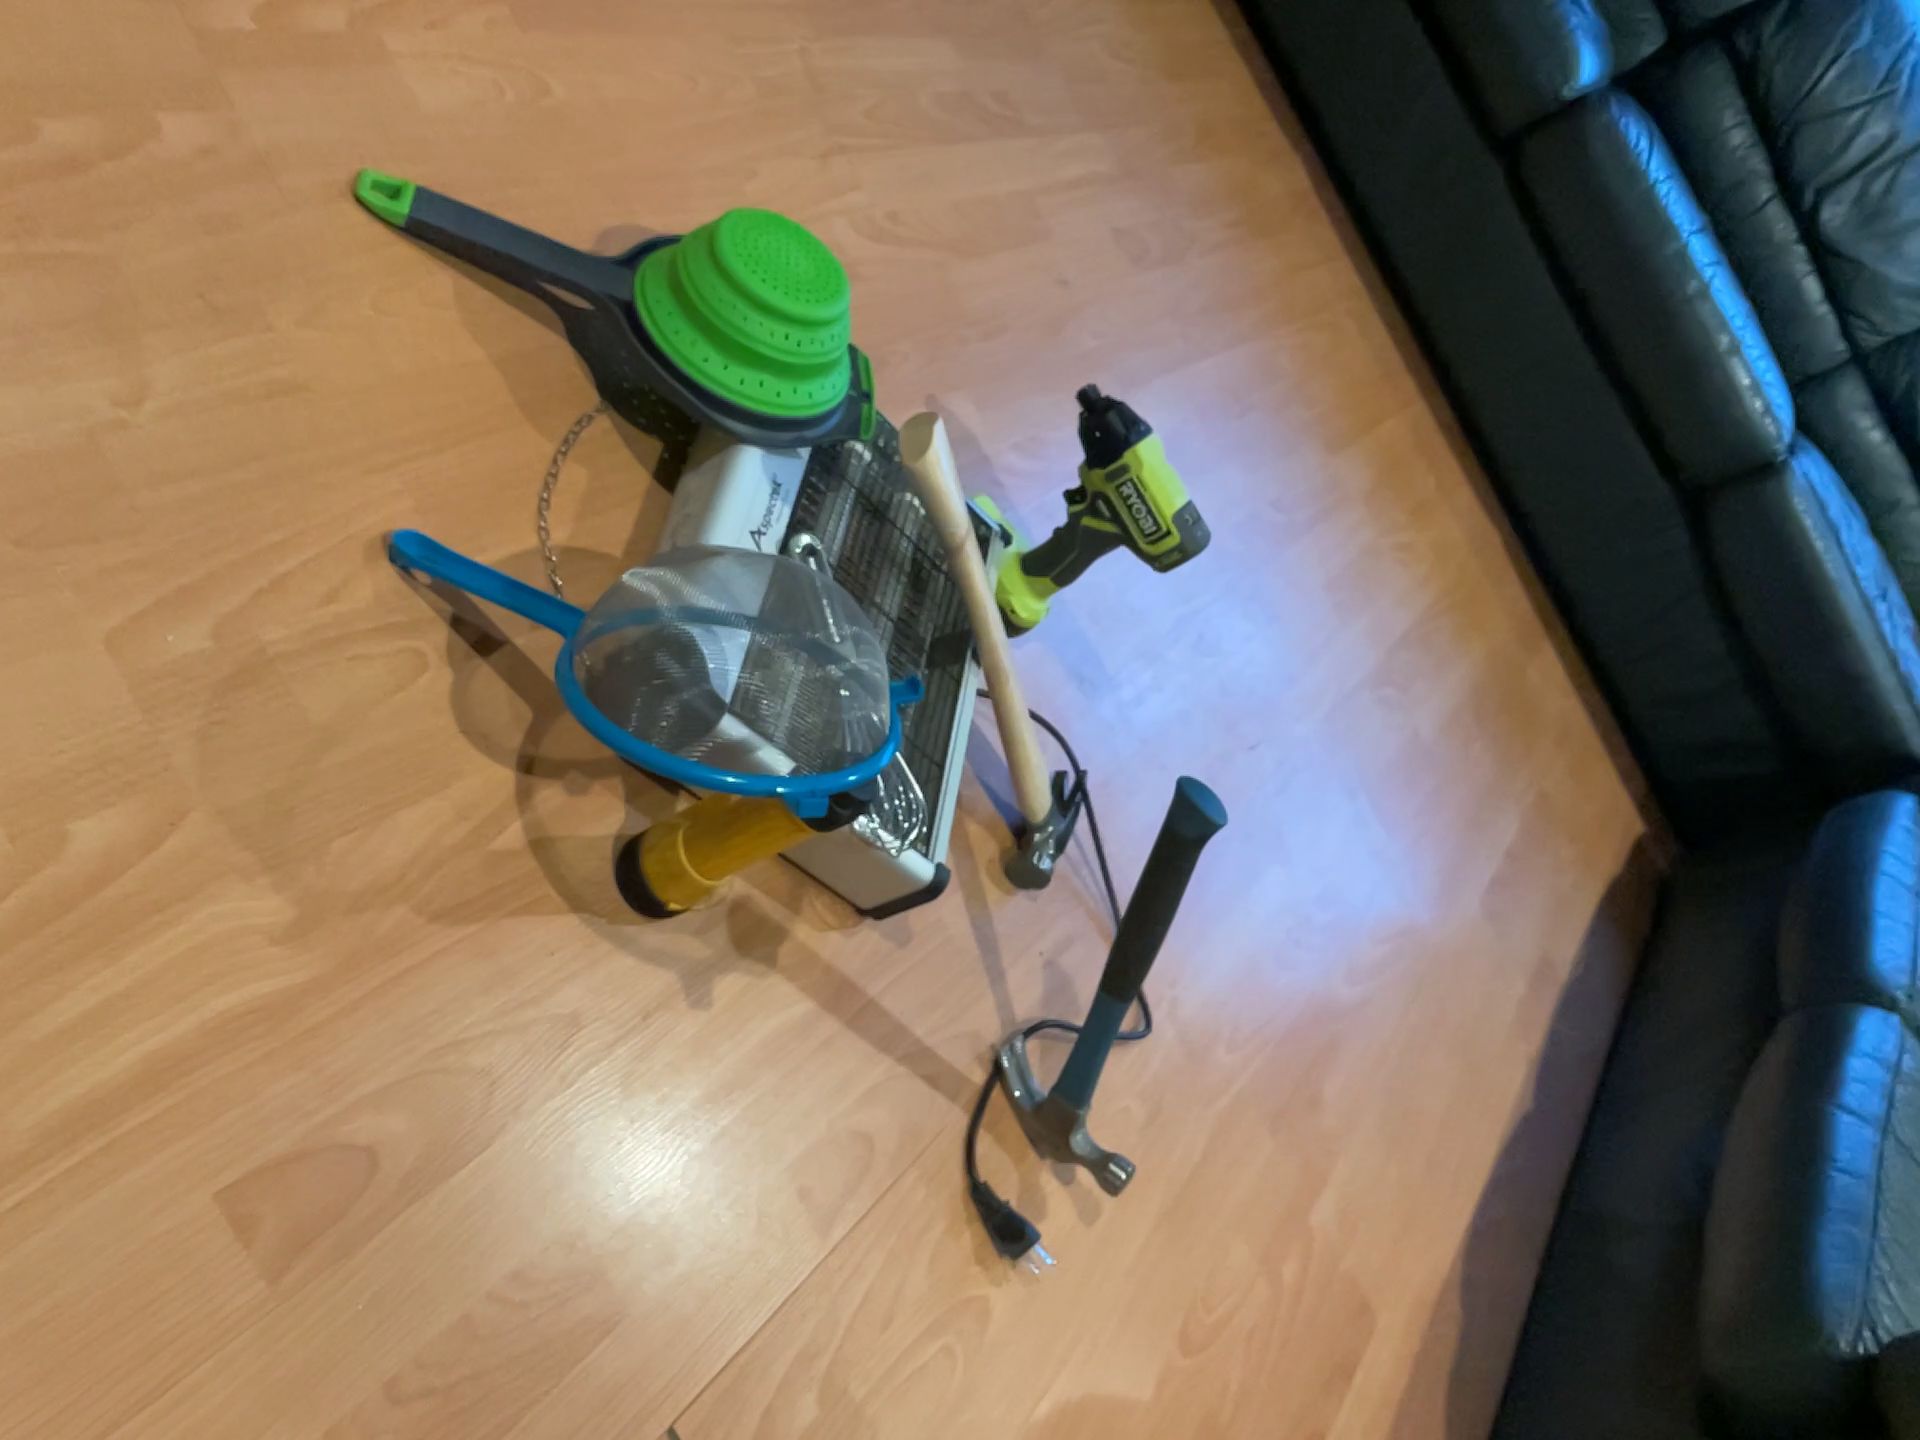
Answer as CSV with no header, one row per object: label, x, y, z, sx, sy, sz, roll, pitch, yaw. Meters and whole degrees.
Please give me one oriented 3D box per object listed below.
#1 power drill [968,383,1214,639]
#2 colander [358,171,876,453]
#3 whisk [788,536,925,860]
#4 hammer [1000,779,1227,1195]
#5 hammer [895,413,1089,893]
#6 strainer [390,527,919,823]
power drill,0.090,-0.178,1.408,0.171,0.223,0.080,58,36,-7
colander,-0.219,-0.327,1.151,0.397,0.094,0.205,18,47,-25
whisk,-0.078,-0.019,1.120,0.058,0.059,0.246,-11,73,-23
hammer,0.121,0.191,1.176,0.128,0.330,0.033,31,28,24
hammer,0.028,-0.060,1.289,0.146,0.038,0.410,-62,142,-47
strainer,-0.186,-0.072,0.964,0.340,0.095,0.211,25,28,7
